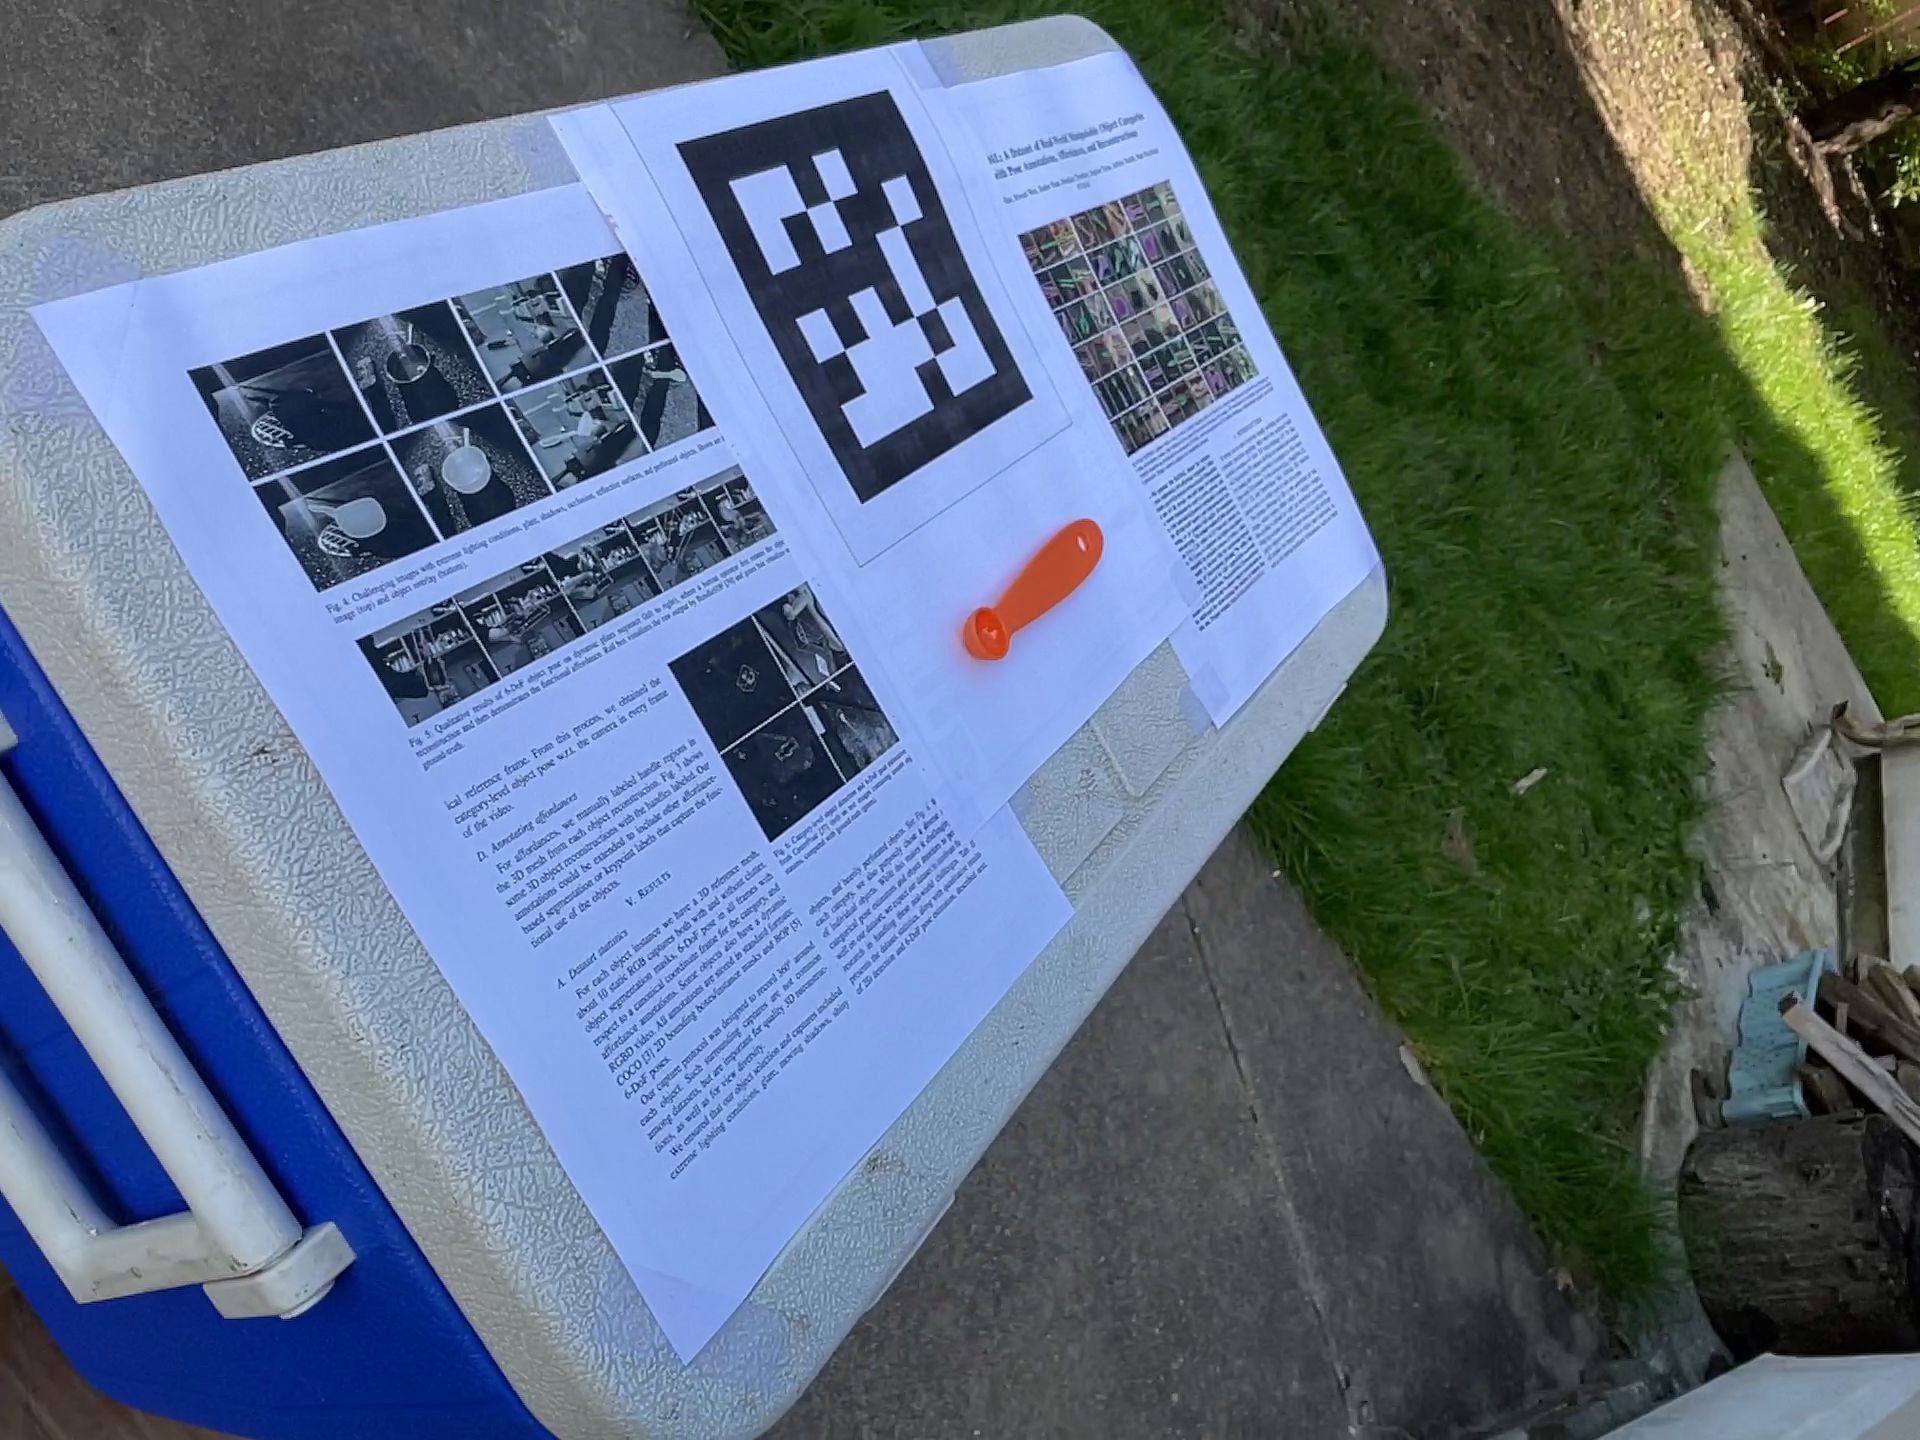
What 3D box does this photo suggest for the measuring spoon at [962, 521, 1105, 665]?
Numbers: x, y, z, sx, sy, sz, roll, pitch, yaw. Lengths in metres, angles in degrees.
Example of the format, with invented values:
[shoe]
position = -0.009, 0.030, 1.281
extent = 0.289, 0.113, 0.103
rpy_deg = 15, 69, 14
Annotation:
[measuring spoon]
position = 0.028, -0.049, 0.590
extent = 0.021, 0.011, 0.117
rpy_deg = 60, 36, -11
